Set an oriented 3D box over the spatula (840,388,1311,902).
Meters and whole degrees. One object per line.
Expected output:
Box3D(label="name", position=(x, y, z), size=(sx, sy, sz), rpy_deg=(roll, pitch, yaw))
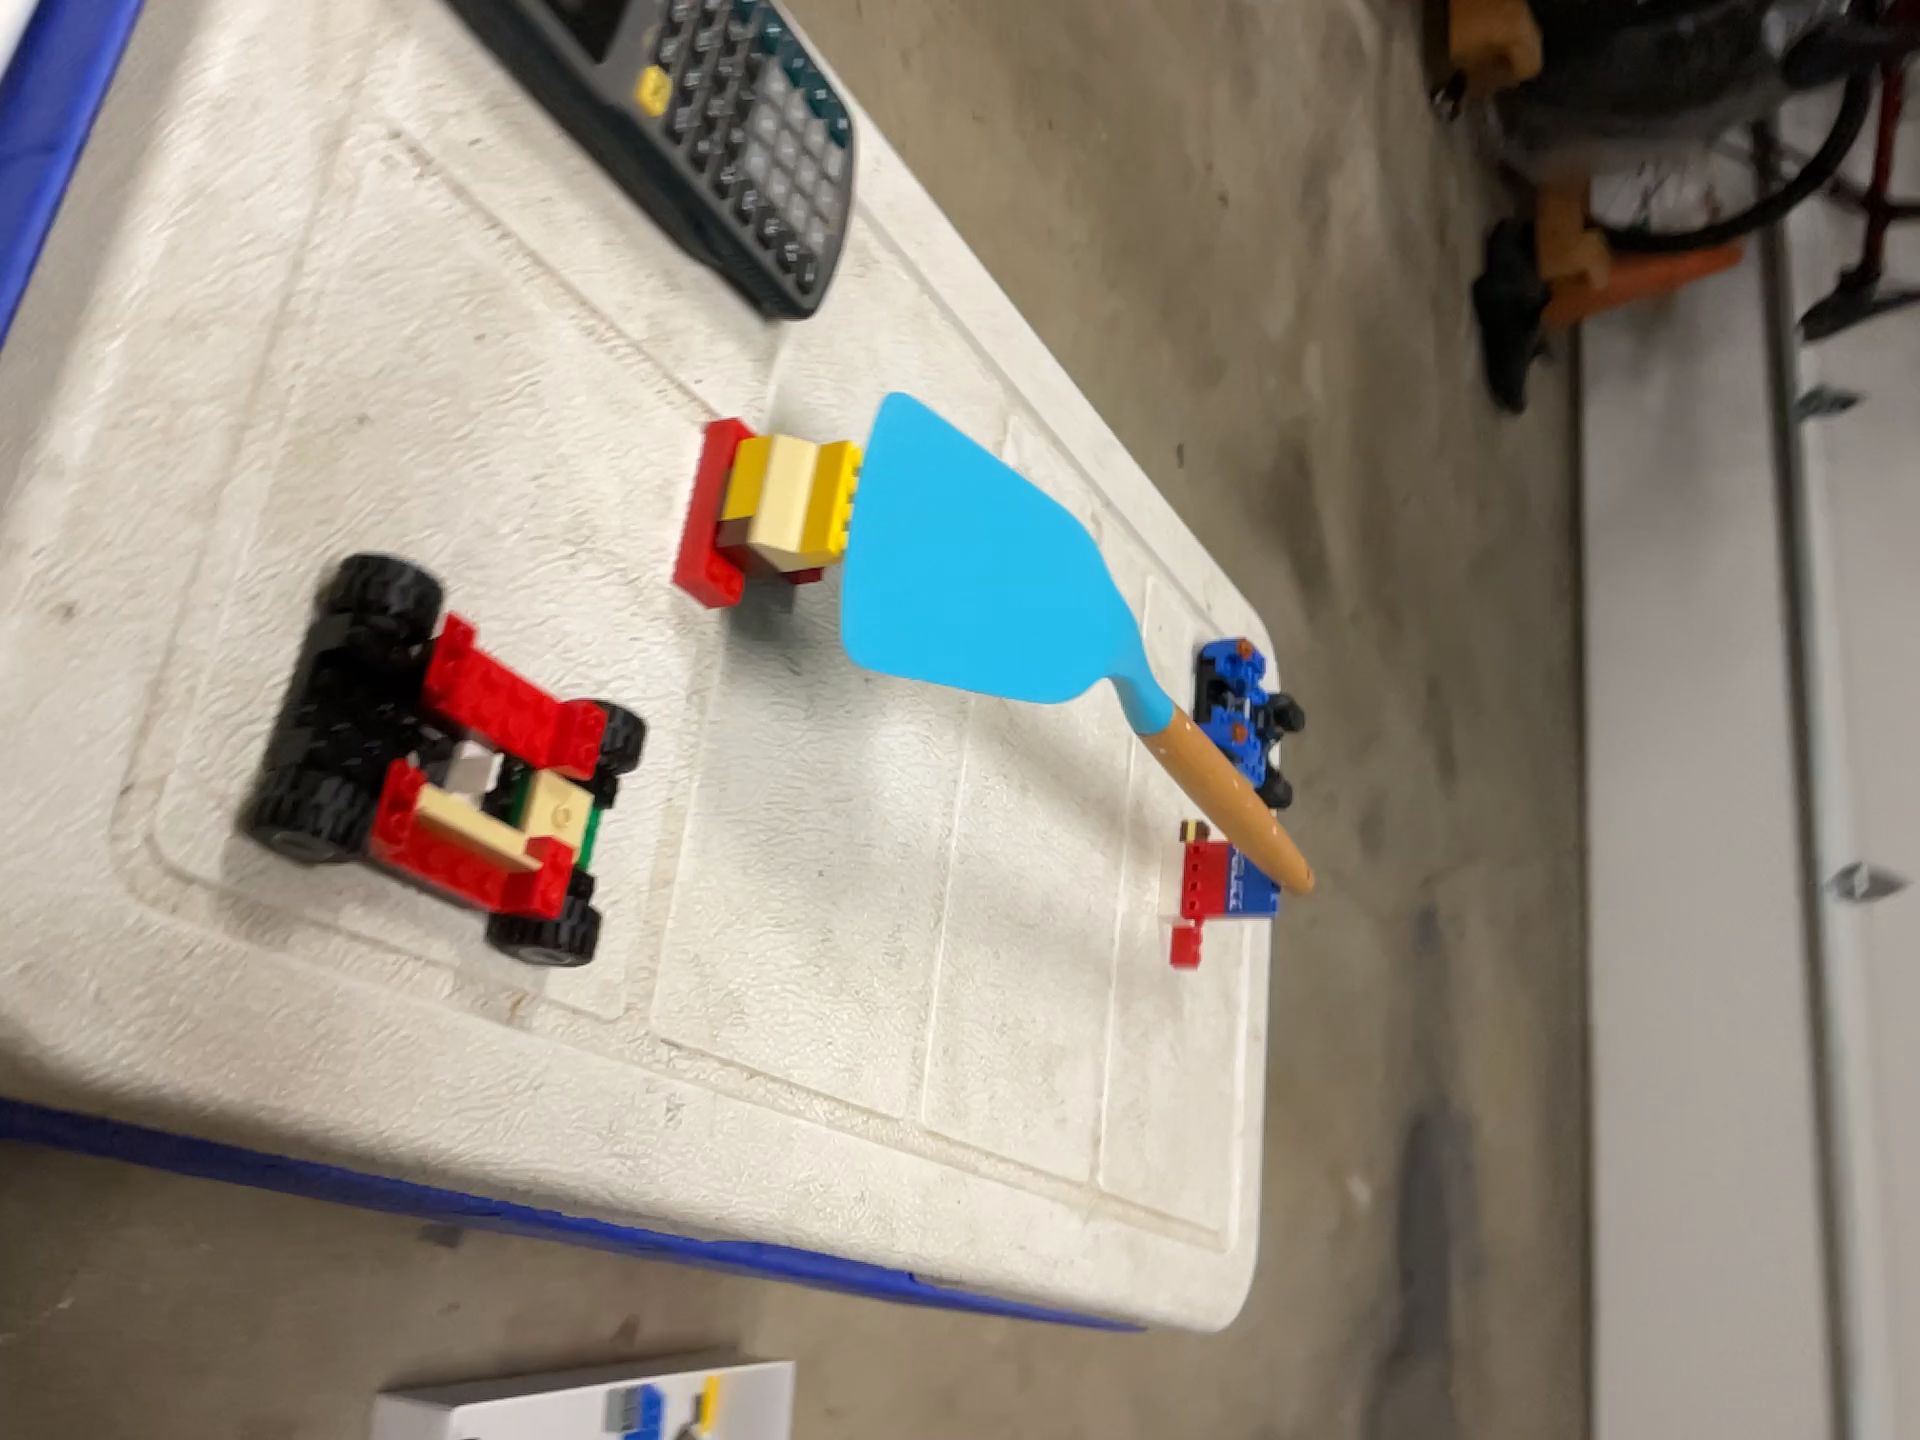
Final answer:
Box3D(label="spatula", position=(0.060, 0.007, 0.521), size=(0.317, 0.044, 0.082), rpy_deg=(42, 49, -55))
